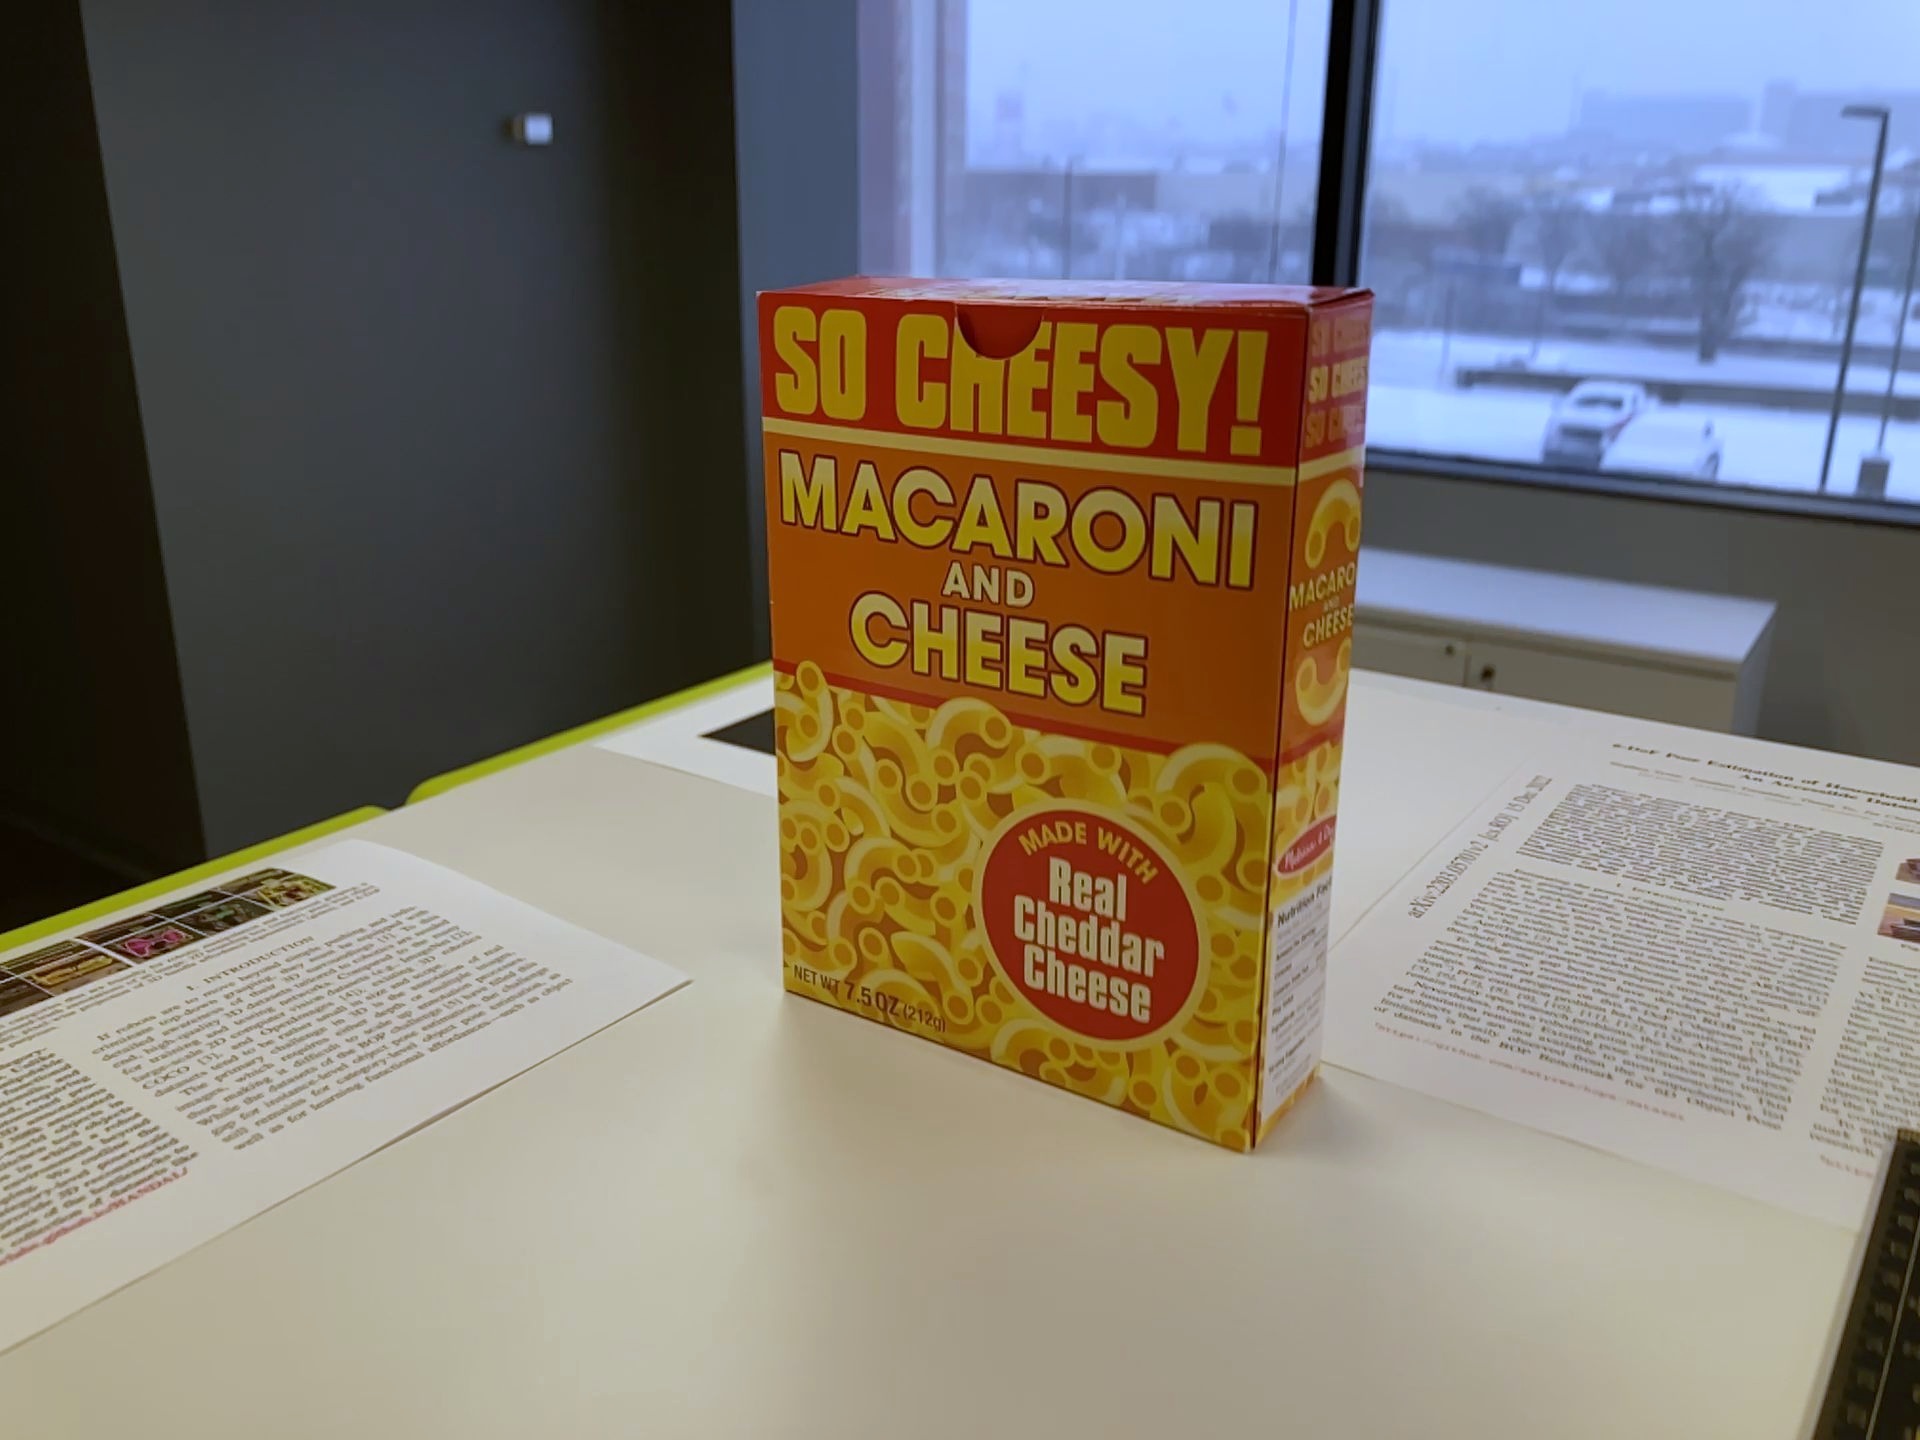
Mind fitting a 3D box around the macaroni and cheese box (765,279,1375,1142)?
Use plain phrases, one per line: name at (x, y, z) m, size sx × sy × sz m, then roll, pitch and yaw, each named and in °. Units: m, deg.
macaroni and cheese box at (0.019, -0.007, 0.343) m, size 0.124 × 0.166 × 0.040 m, roll 11°, pitch 21°, yaw 31°
